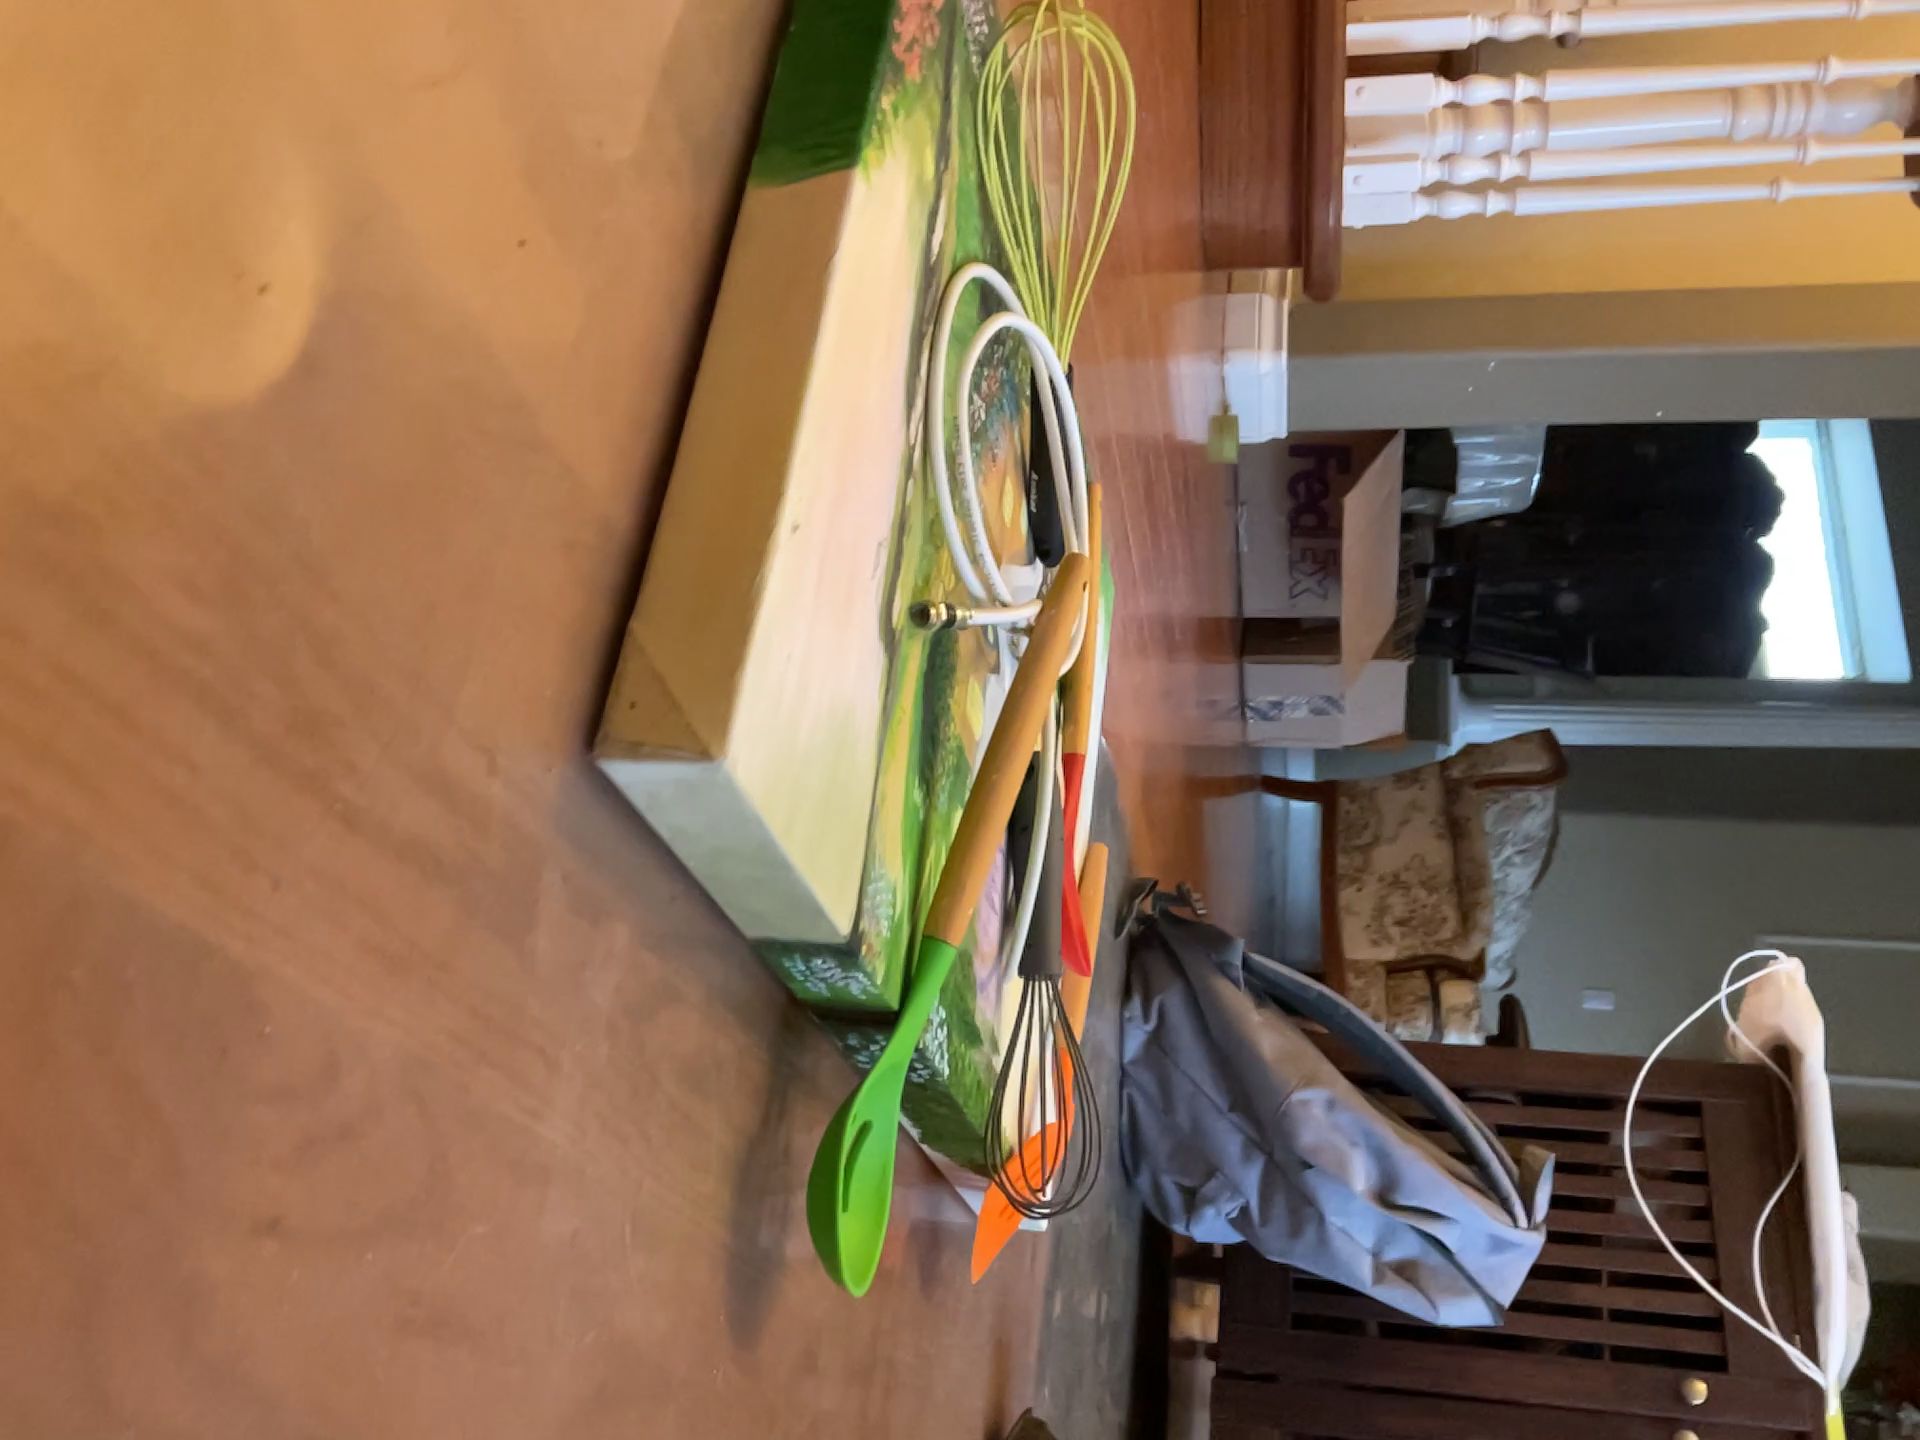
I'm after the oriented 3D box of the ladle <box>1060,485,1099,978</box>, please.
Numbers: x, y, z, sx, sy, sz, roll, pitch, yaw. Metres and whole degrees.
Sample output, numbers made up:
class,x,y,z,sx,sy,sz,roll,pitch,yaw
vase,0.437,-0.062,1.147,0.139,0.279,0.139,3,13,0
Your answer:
class,x,y,z,sx,sy,sz,roll,pitch,yaw
ladle,0.072,-0.001,0.962,0.069,0.031,0.316,61,30,-66

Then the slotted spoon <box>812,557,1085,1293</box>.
class,x,y,z,sx,sy,sz,roll,pitch,yaw
slotted spoon,0.000,0.069,0.642,0.070,0.031,0.314,64,41,-61

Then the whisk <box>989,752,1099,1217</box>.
class,x,y,z,sx,sy,sz,roll,pitch,yaw
whisk,0.042,0.129,0.811,0.055,0.055,0.239,85,5,-69

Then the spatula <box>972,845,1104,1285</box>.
class,x,y,z,sx,sy,sz,roll,pitch,yaw
spatula,0.055,0.182,0.947,0.323,0.041,0.081,-74,171,-52

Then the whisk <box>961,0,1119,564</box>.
class,x,y,z,sx,sy,sz,roll,pitch,yaw
whisk,0.042,-0.200,0.780,0.311,0.067,0.080,86,19,-44
